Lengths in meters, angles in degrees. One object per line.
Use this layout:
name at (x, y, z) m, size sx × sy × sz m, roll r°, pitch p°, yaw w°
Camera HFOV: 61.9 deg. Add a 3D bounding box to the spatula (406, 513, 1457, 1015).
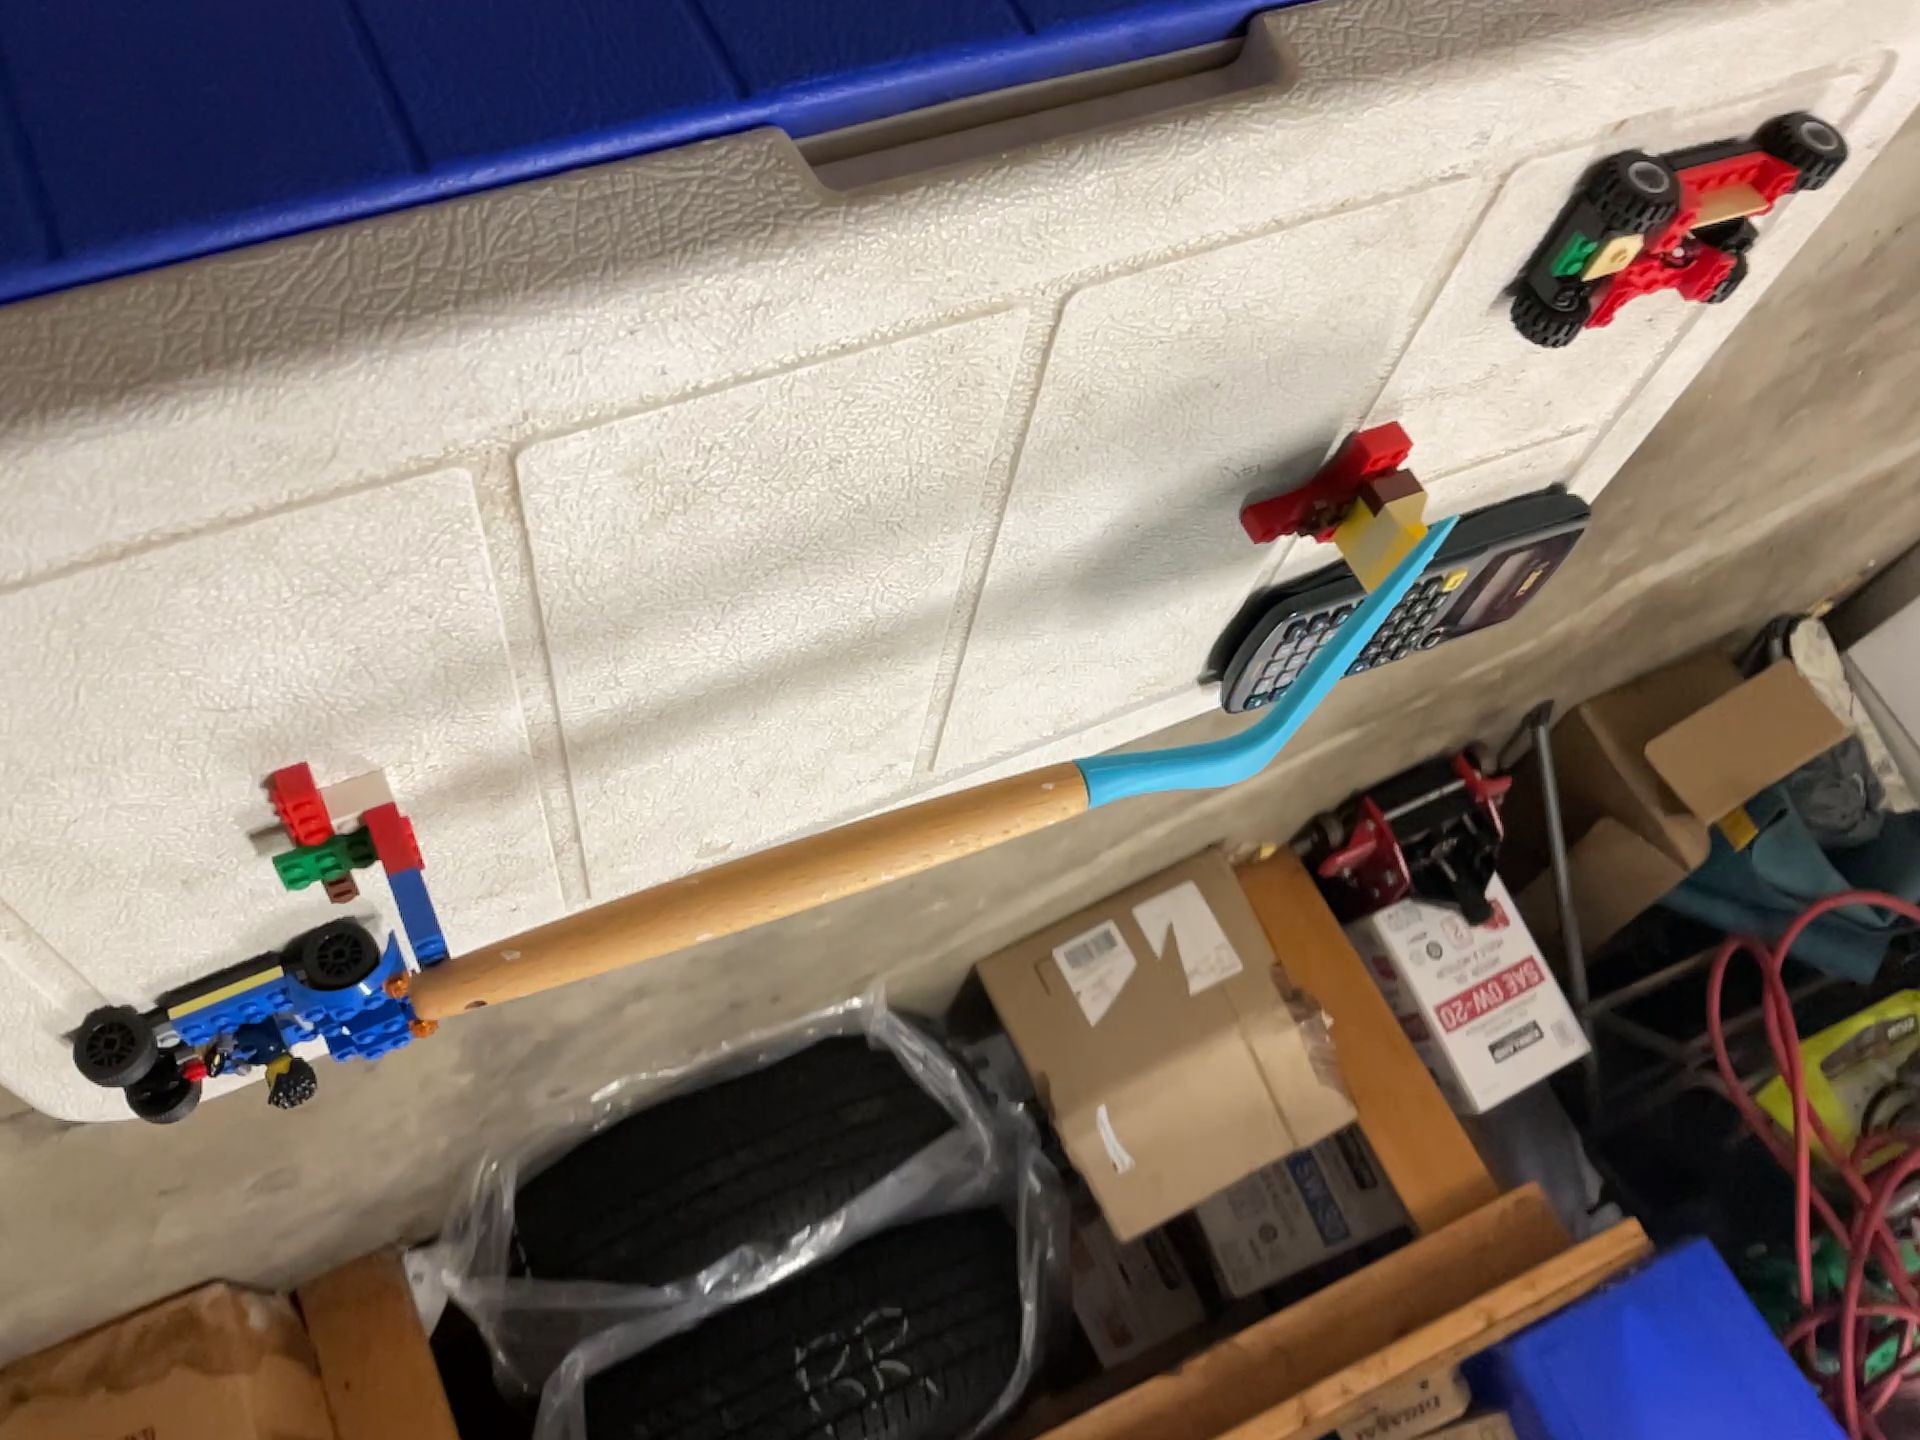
spatula at (0.005, 0.016, 0.448) m, size 0.318 × 0.044 × 0.082 m, roll -17°, pitch 157°, yaw -17°
